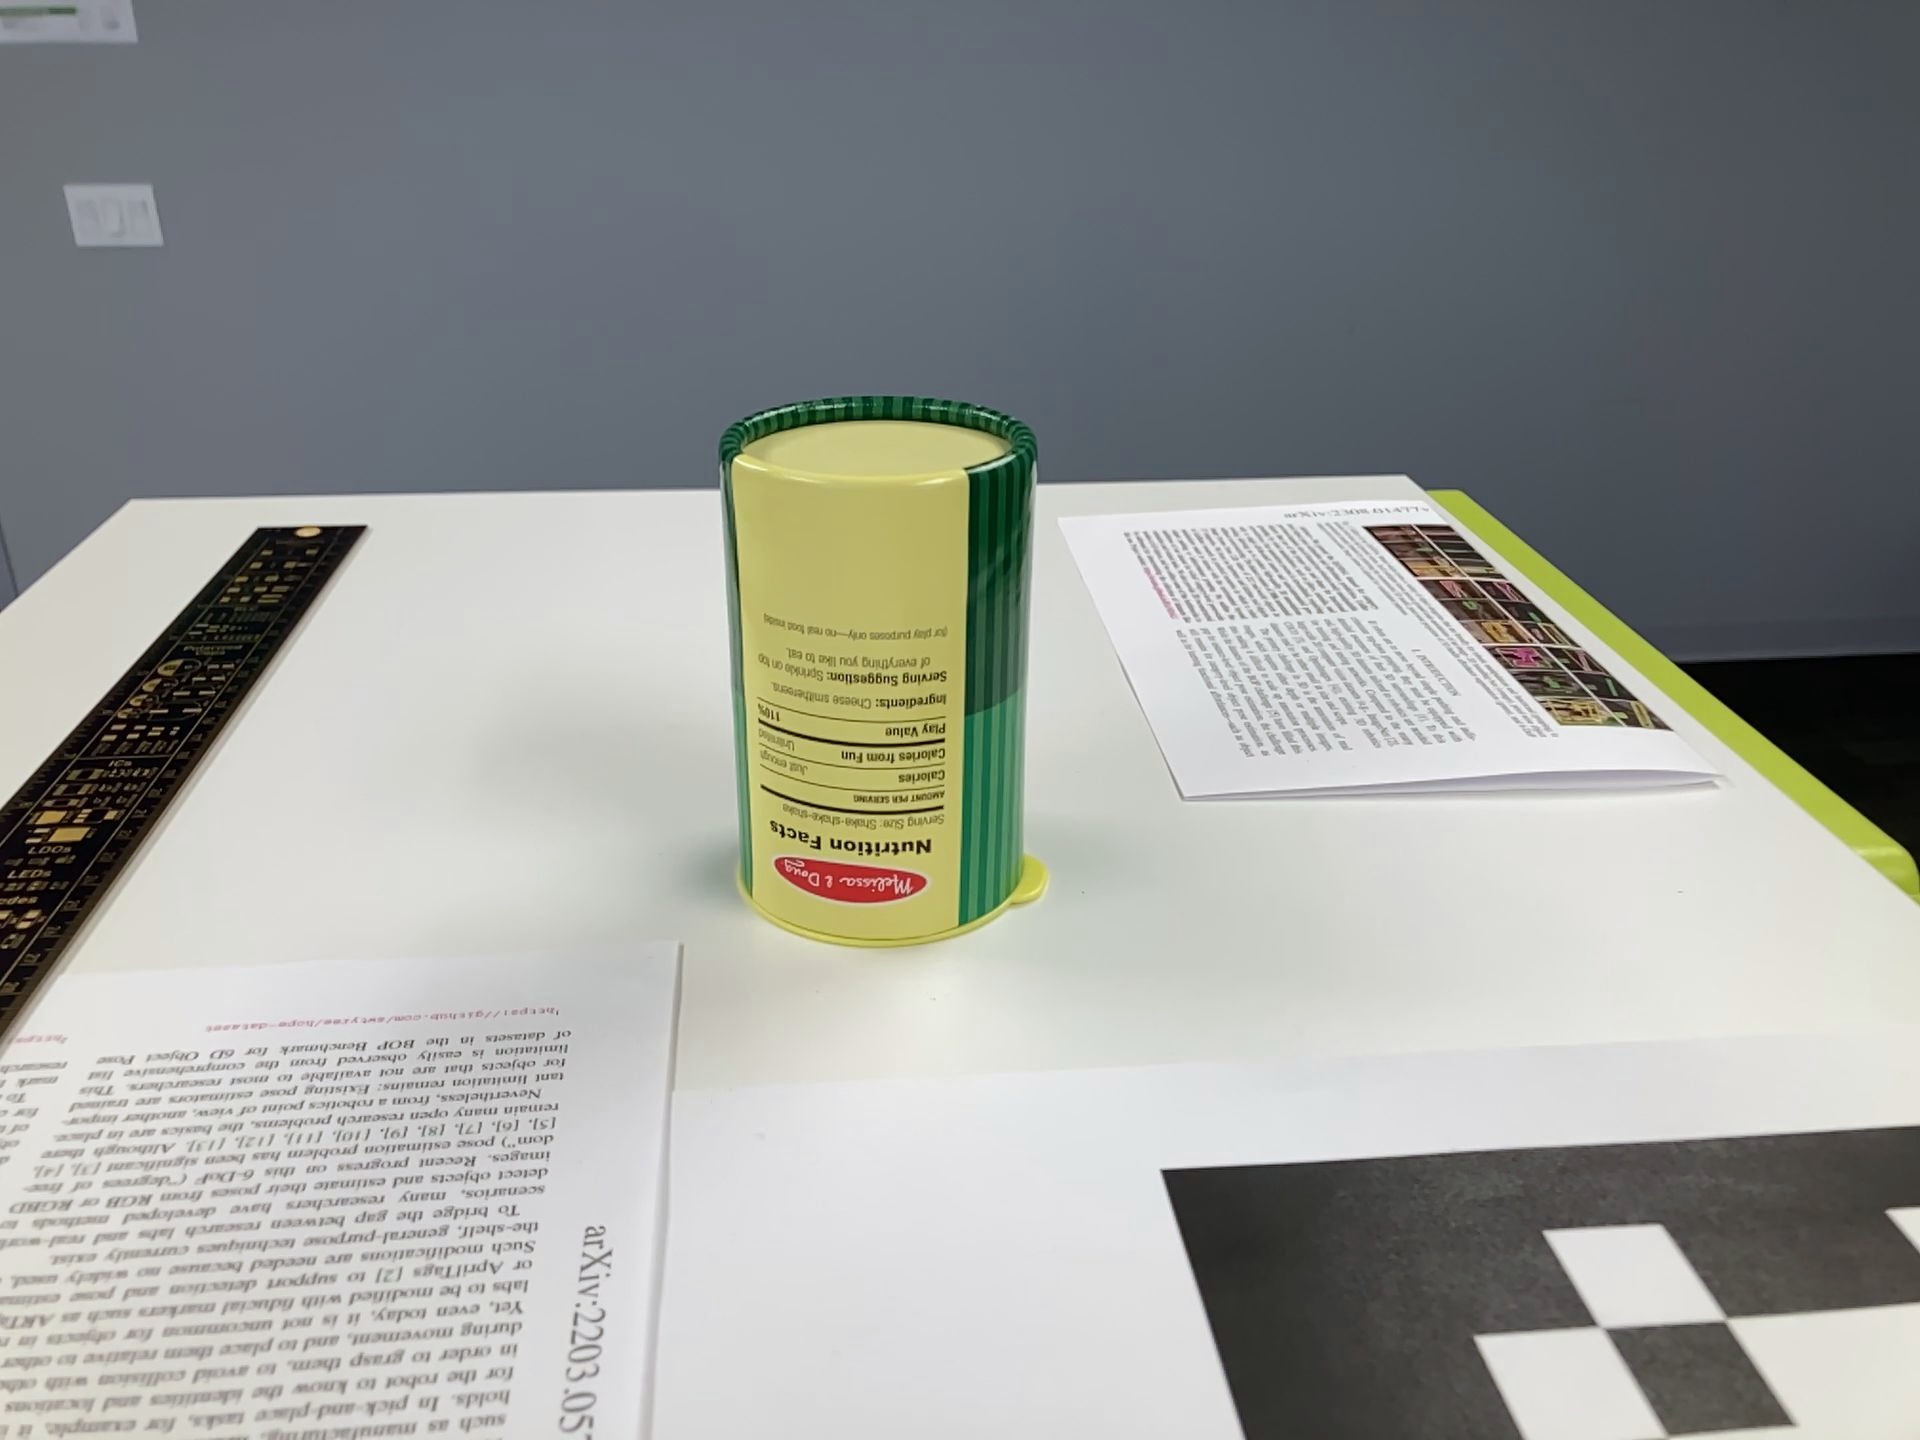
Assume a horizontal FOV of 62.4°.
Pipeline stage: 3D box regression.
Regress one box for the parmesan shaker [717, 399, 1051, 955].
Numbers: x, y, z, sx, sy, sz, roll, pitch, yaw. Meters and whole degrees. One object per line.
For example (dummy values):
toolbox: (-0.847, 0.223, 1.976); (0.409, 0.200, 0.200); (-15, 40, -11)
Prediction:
parmesan shaker: (-0.014, -0.011, 0.340); (0.071, 0.103, 0.071); (1, 25, -1)
